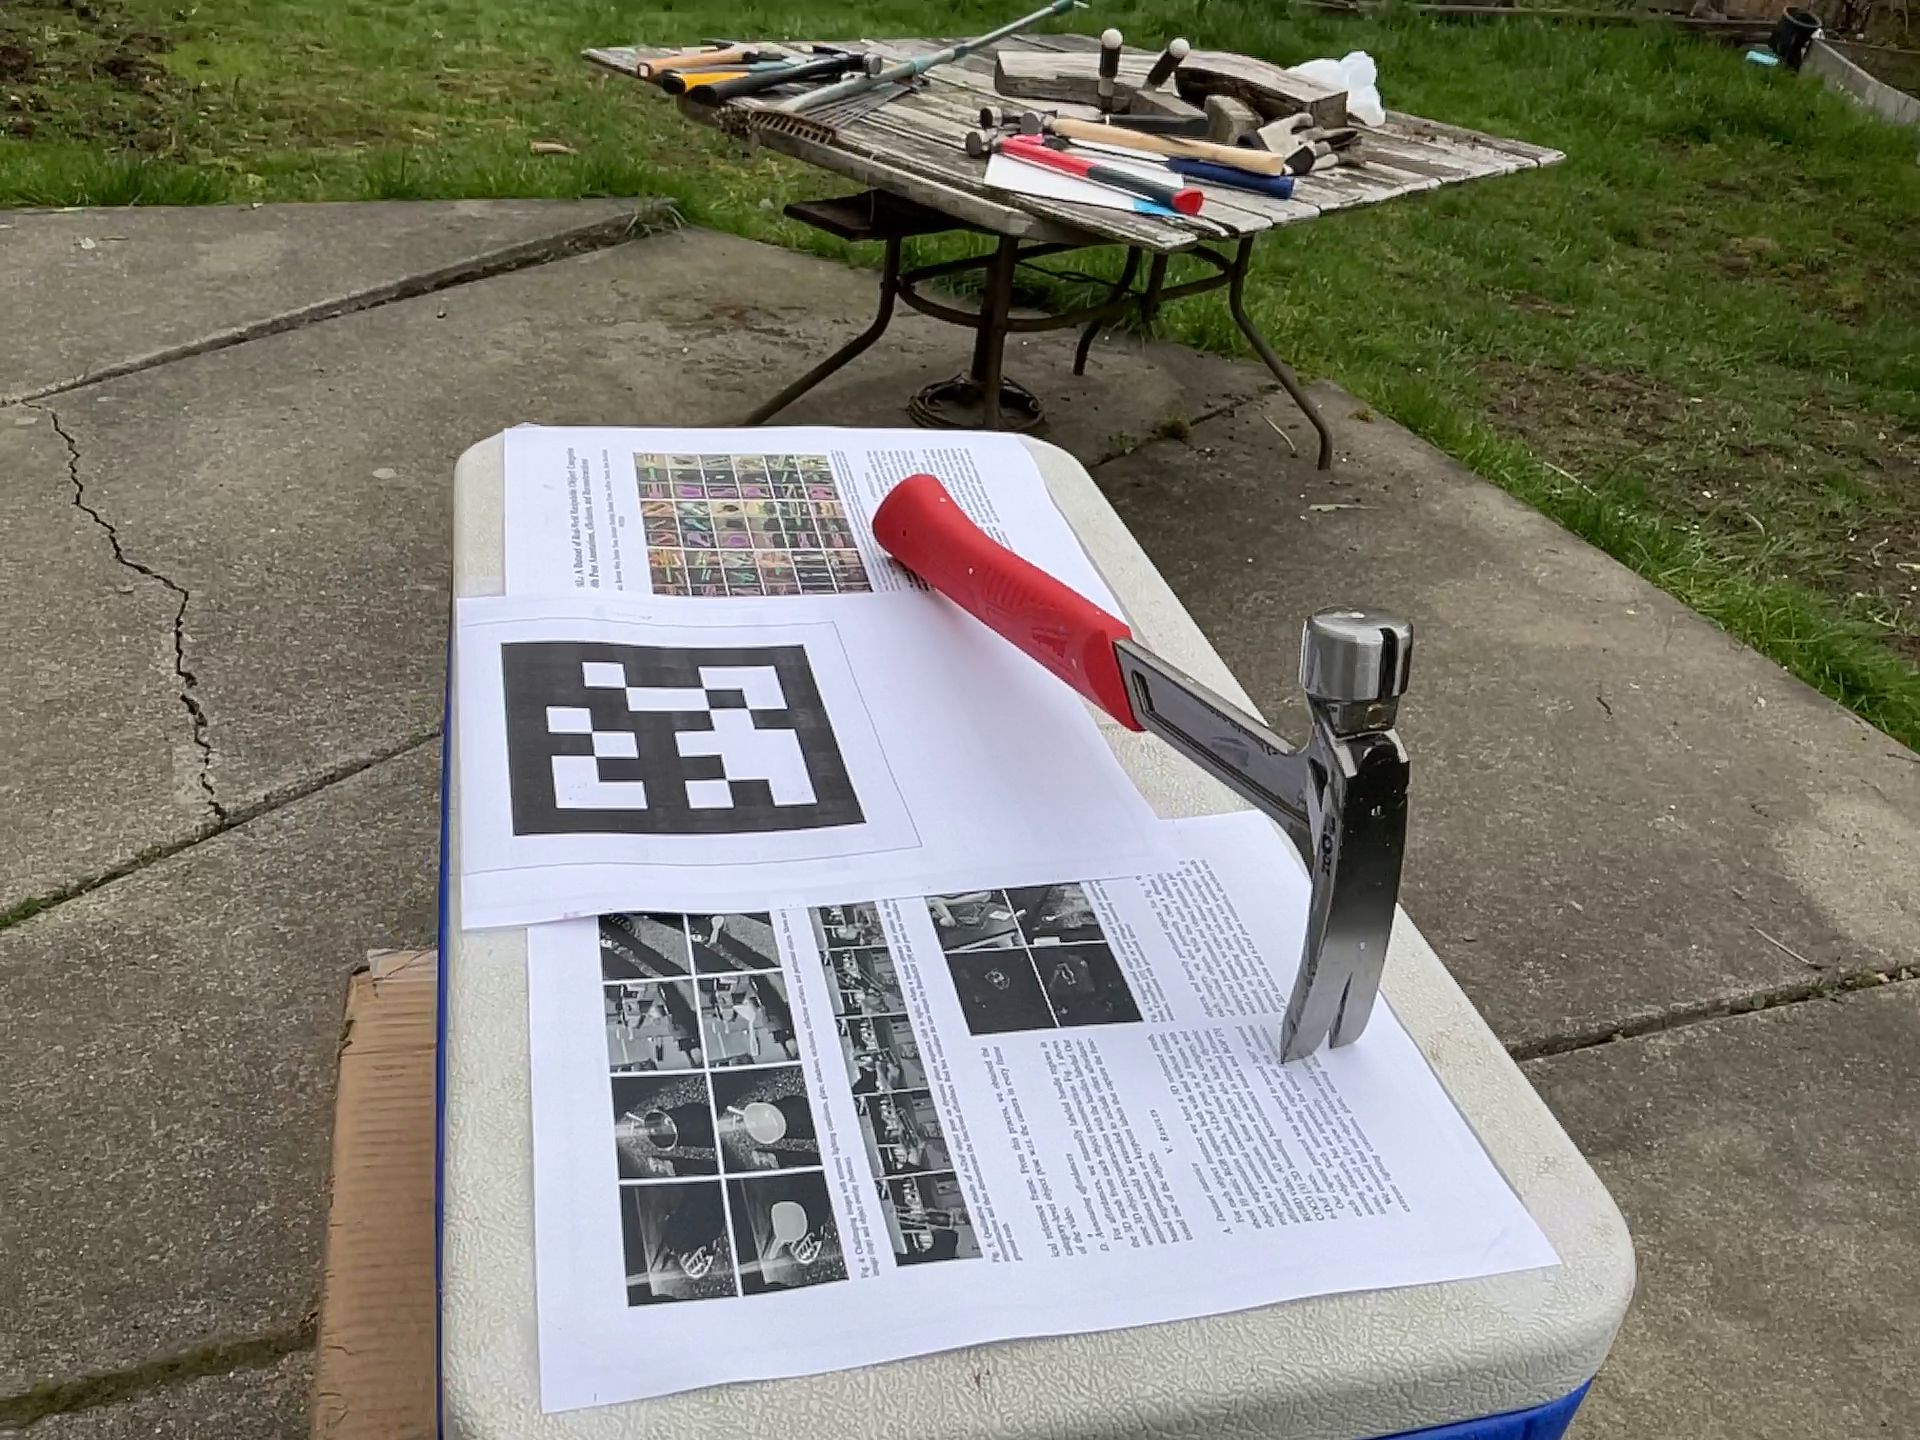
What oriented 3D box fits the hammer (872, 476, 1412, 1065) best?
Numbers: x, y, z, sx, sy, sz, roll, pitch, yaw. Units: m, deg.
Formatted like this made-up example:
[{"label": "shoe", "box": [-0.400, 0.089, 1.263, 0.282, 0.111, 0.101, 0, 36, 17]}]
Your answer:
[{"label": "hammer", "box": [0.049, -0.020, 0.632, 0.036, 0.149, 0.359, -9, 25, -23]}]
